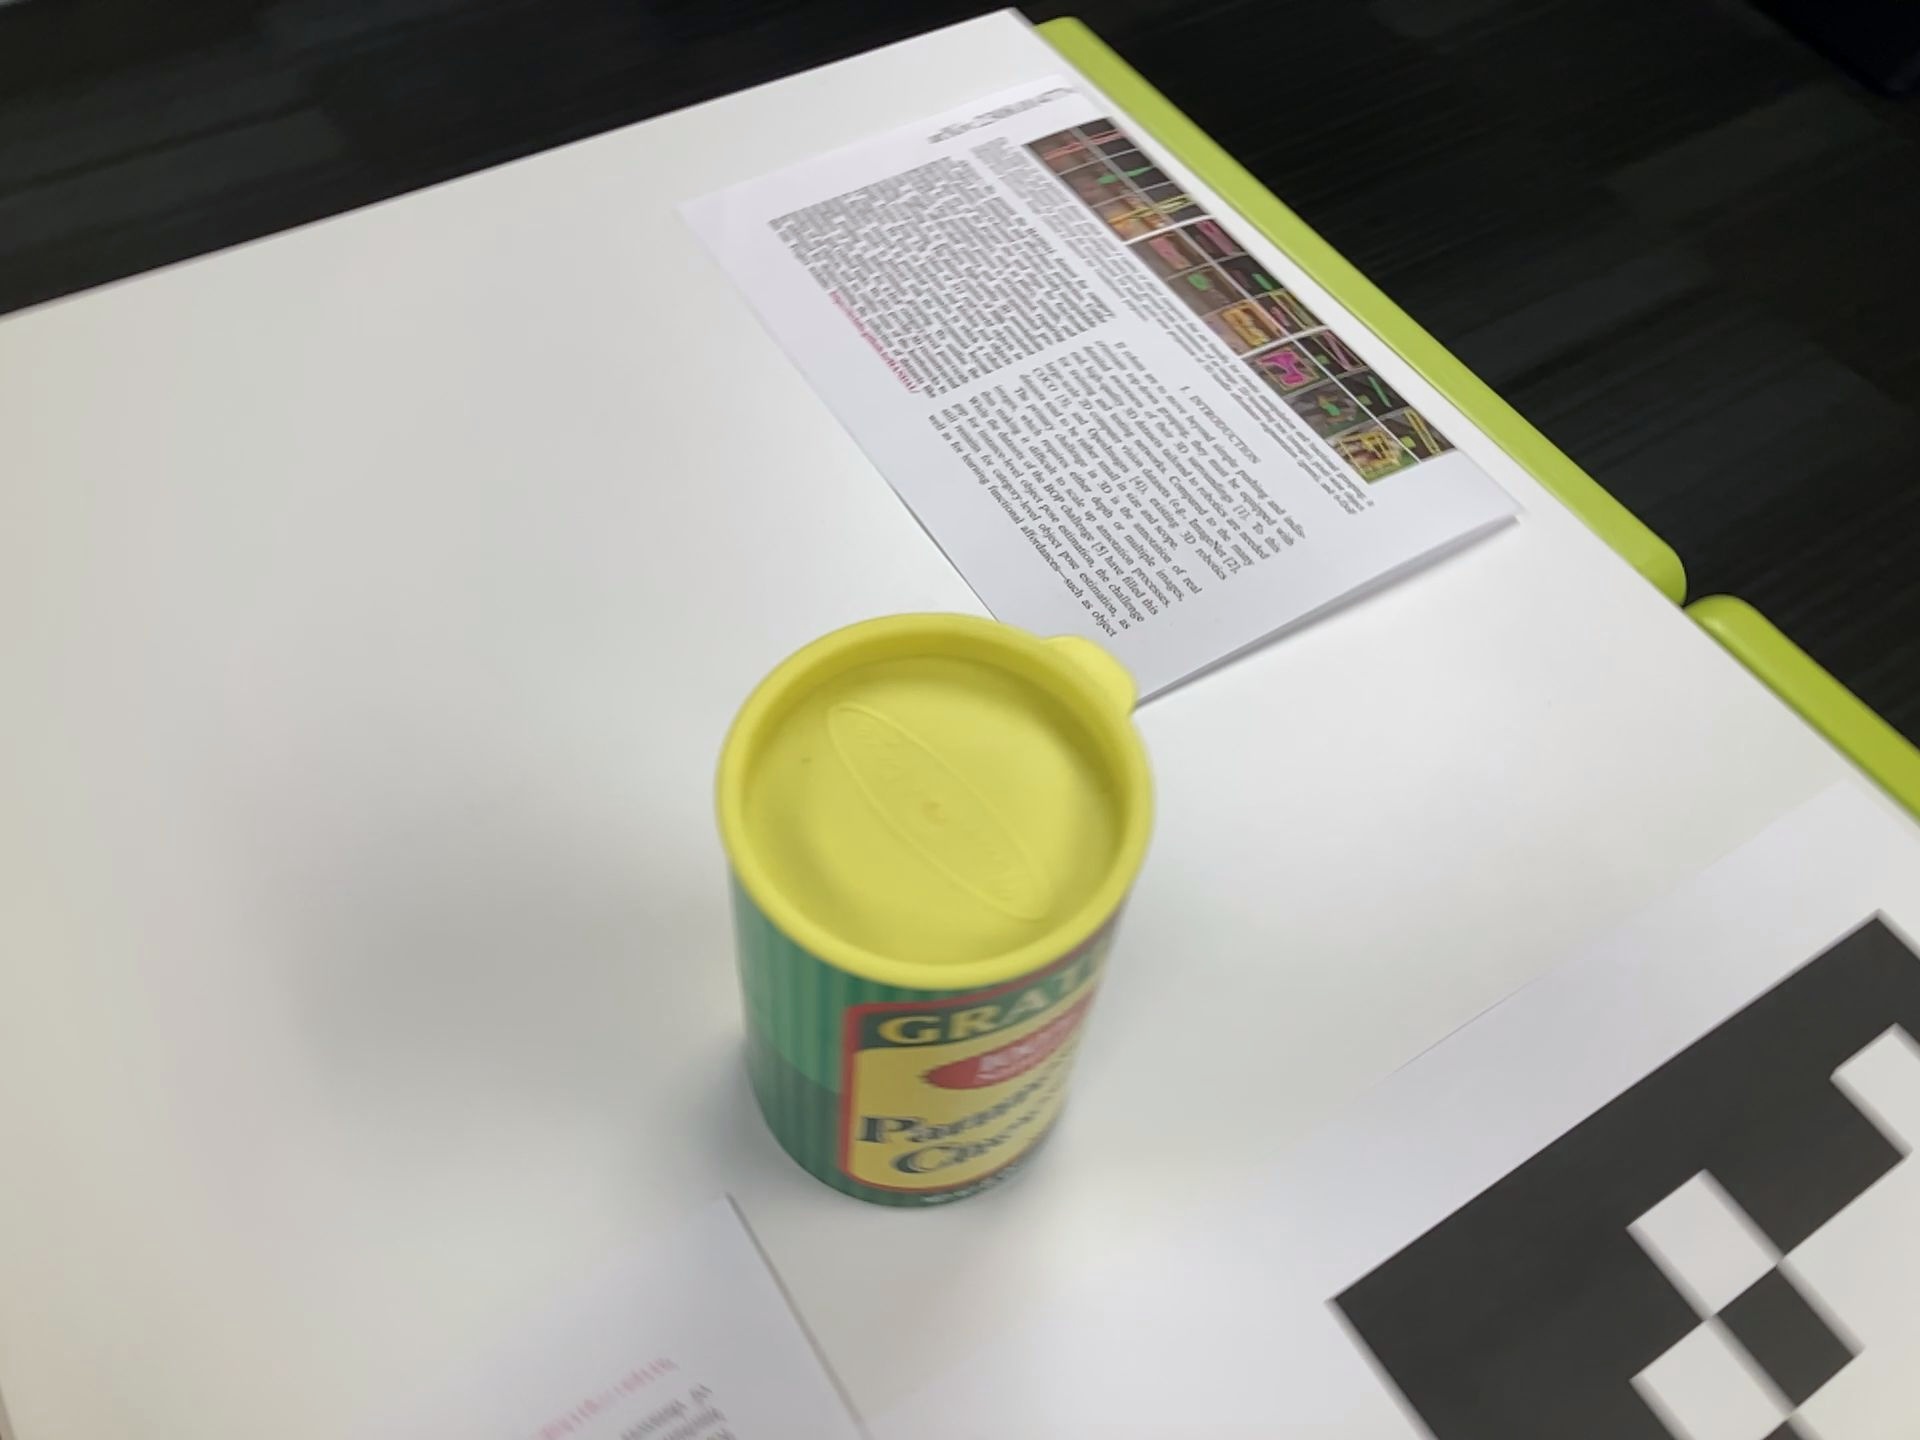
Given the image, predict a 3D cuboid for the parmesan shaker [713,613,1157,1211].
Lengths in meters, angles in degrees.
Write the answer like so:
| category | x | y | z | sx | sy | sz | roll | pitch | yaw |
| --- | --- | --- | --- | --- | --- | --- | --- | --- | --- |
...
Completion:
| category | x | y | z | sx | sy | sz | roll | pitch | yaw |
| --- | --- | --- | --- | --- | --- | --- | --- | --- | --- |
| parmesan shaker | -0.004 | 0.037 | 0.280 | 0.071 | 0.103 | 0.071 | 2 | 55 | -2 |
